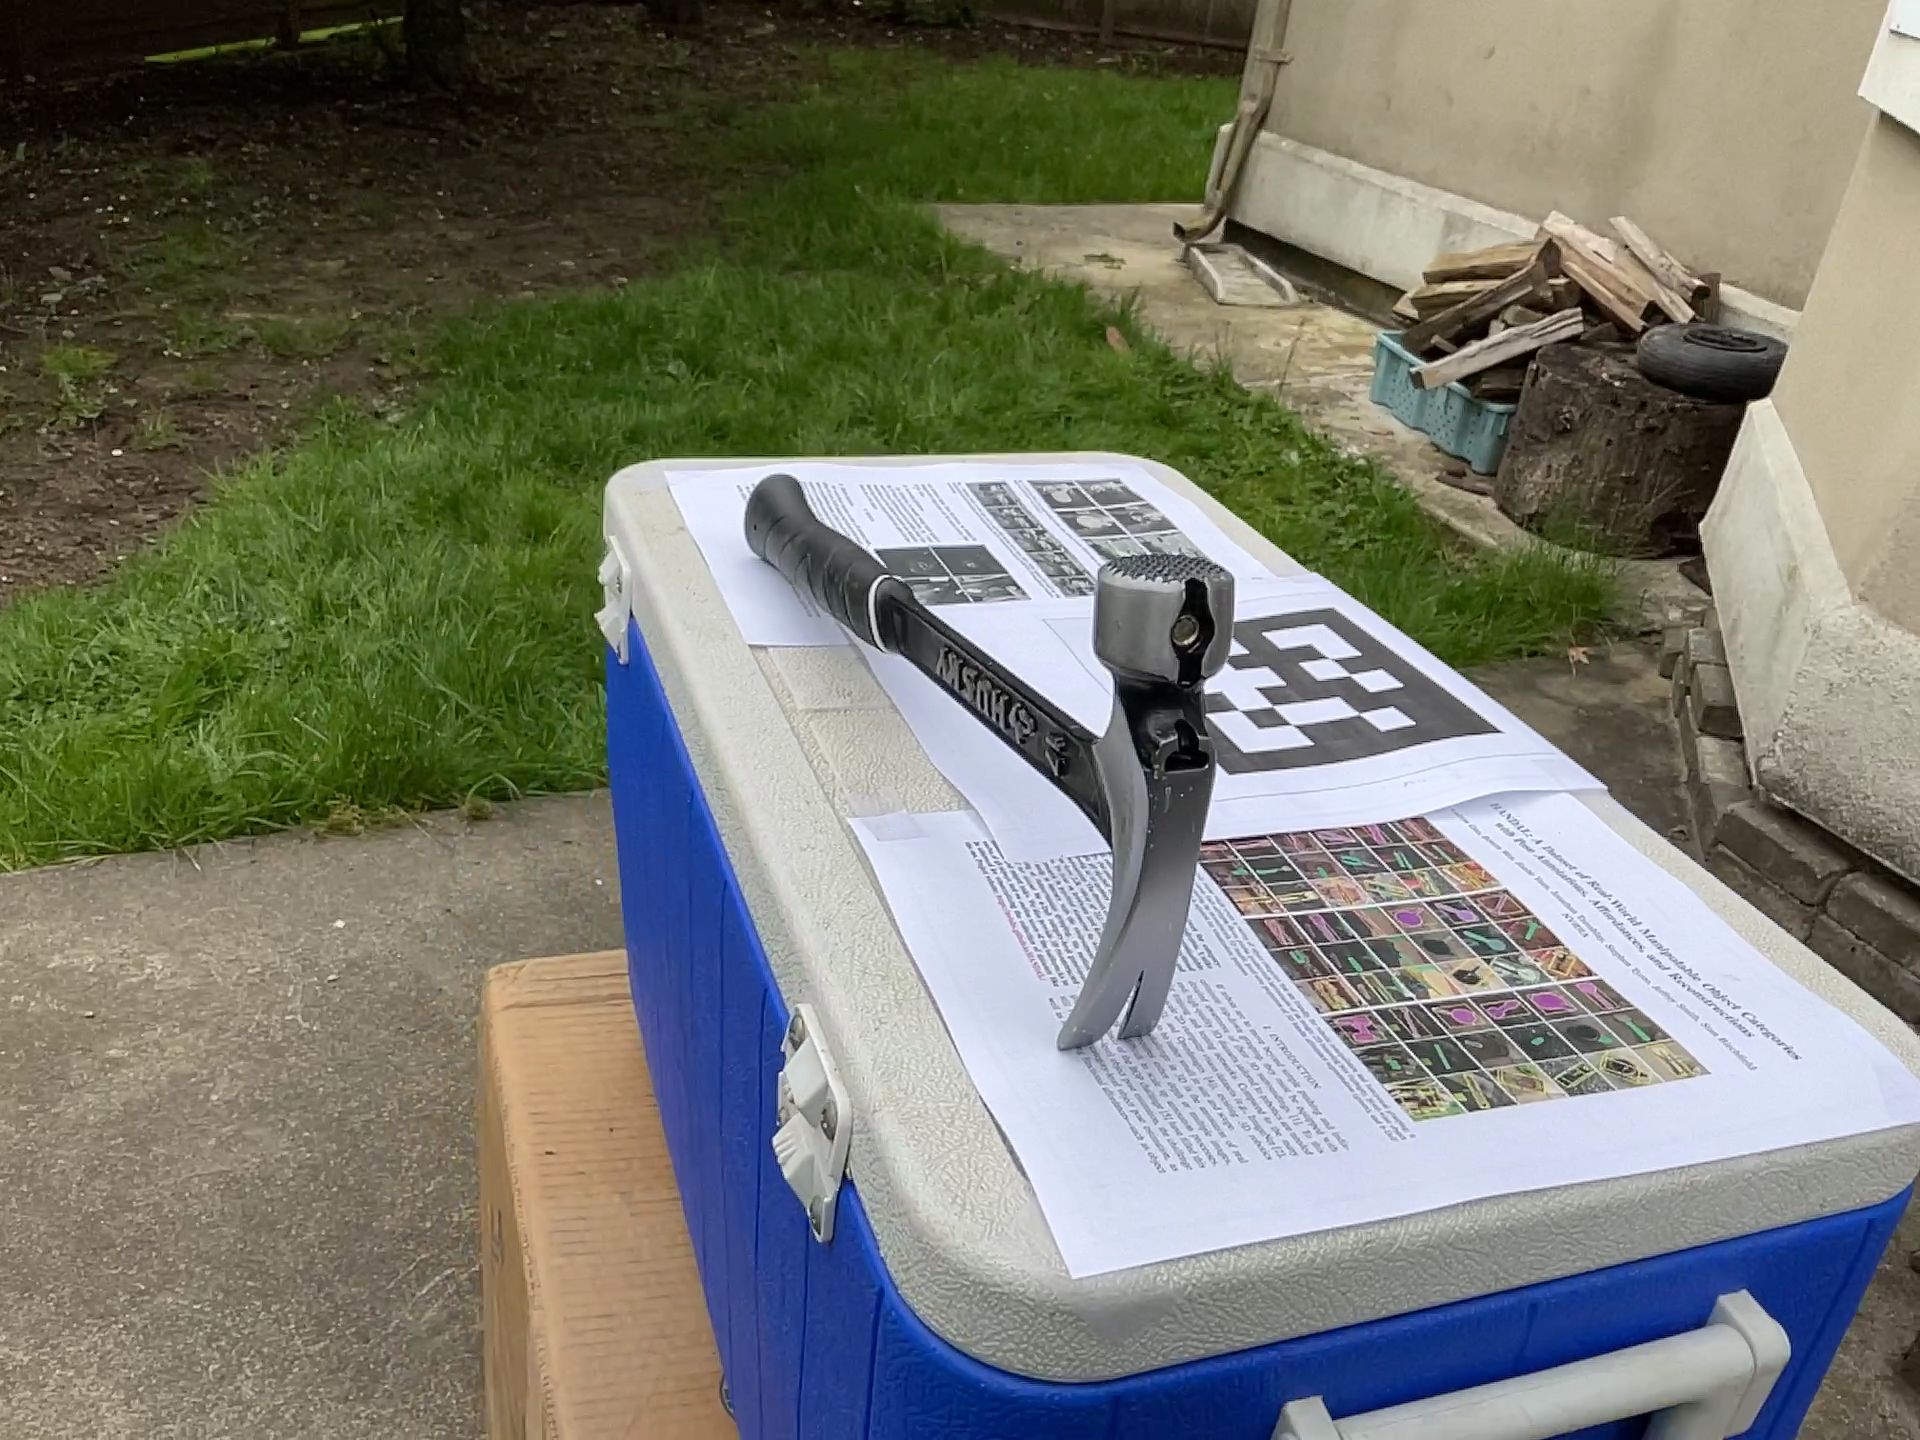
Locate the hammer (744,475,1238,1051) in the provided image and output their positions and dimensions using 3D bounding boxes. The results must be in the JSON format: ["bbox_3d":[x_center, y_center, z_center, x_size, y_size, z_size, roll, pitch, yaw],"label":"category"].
[{"bbox_3d":[-0.017,-0.029,0.595,0.036,0.149,0.409,-6,20,-21],"label":"hammer"}]
